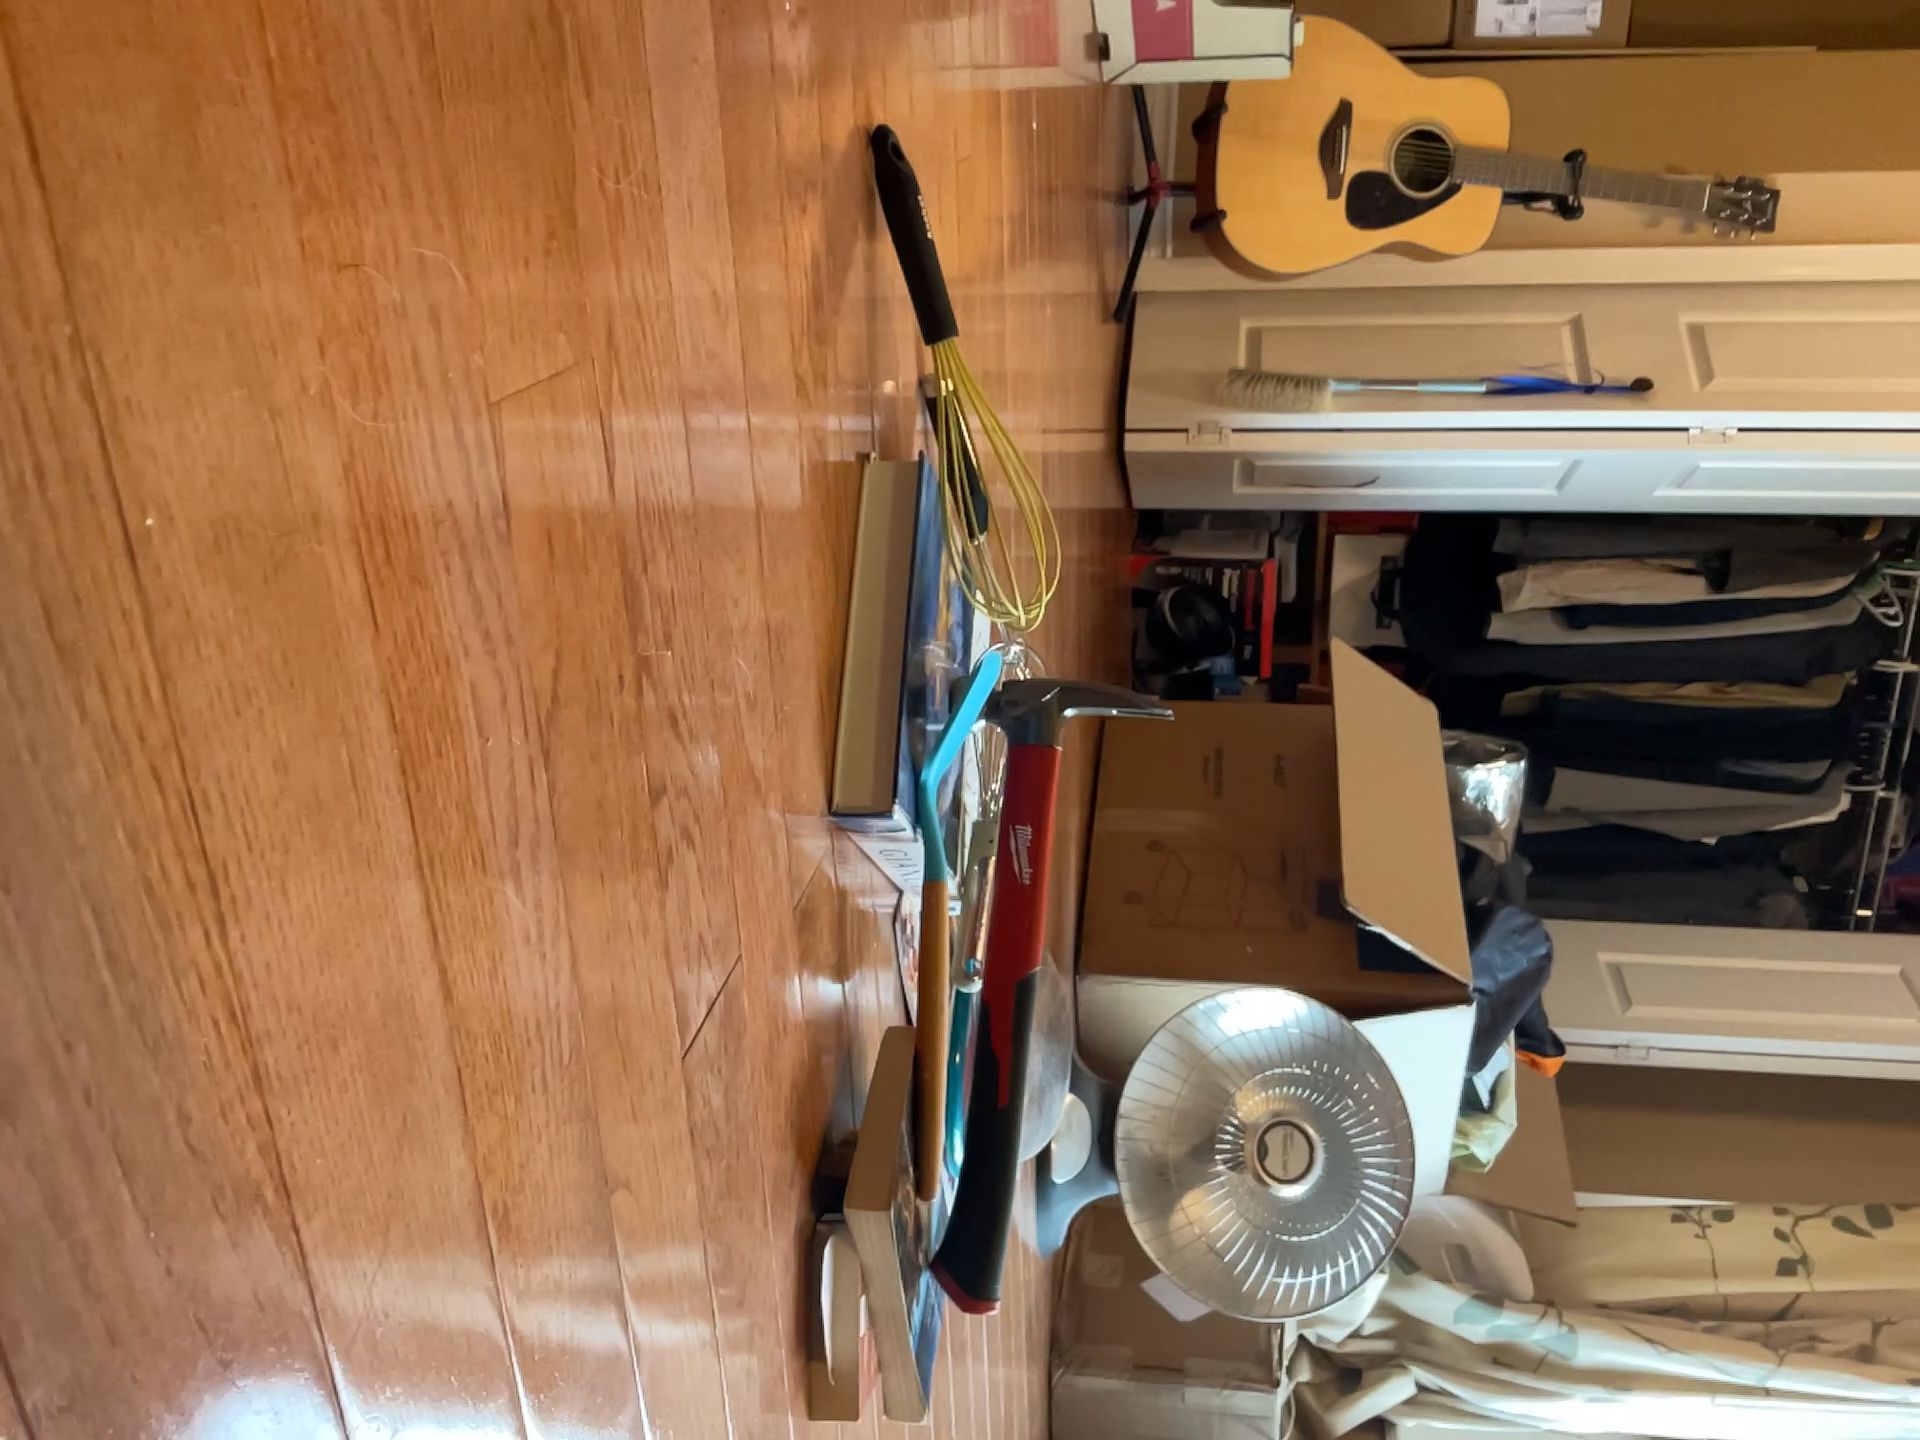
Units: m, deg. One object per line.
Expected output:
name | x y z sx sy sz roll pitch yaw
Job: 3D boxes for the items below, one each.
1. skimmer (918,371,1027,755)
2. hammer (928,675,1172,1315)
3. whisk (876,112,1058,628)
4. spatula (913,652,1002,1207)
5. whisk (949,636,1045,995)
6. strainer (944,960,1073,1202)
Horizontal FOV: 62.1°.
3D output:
skimmer | -0.002 -0.081 1.181 0.128 0.090 0.363 -72 150 -54
hammer | 0.044 0.165 0.984 0.038 0.143 0.387 45 50 -73
whisk | -0.004 -0.203 0.953 0.080 0.067 0.311 -38 116 -59
spatula | -0.005 0.119 0.912 0.082 0.044 0.317 9 82 -82
whisk | 0.020 0.063 1.083 0.059 0.058 0.246 167 -68 -68
strainer | 0.044 0.226 1.247 0.340 0.095 0.211 92 7 -47
